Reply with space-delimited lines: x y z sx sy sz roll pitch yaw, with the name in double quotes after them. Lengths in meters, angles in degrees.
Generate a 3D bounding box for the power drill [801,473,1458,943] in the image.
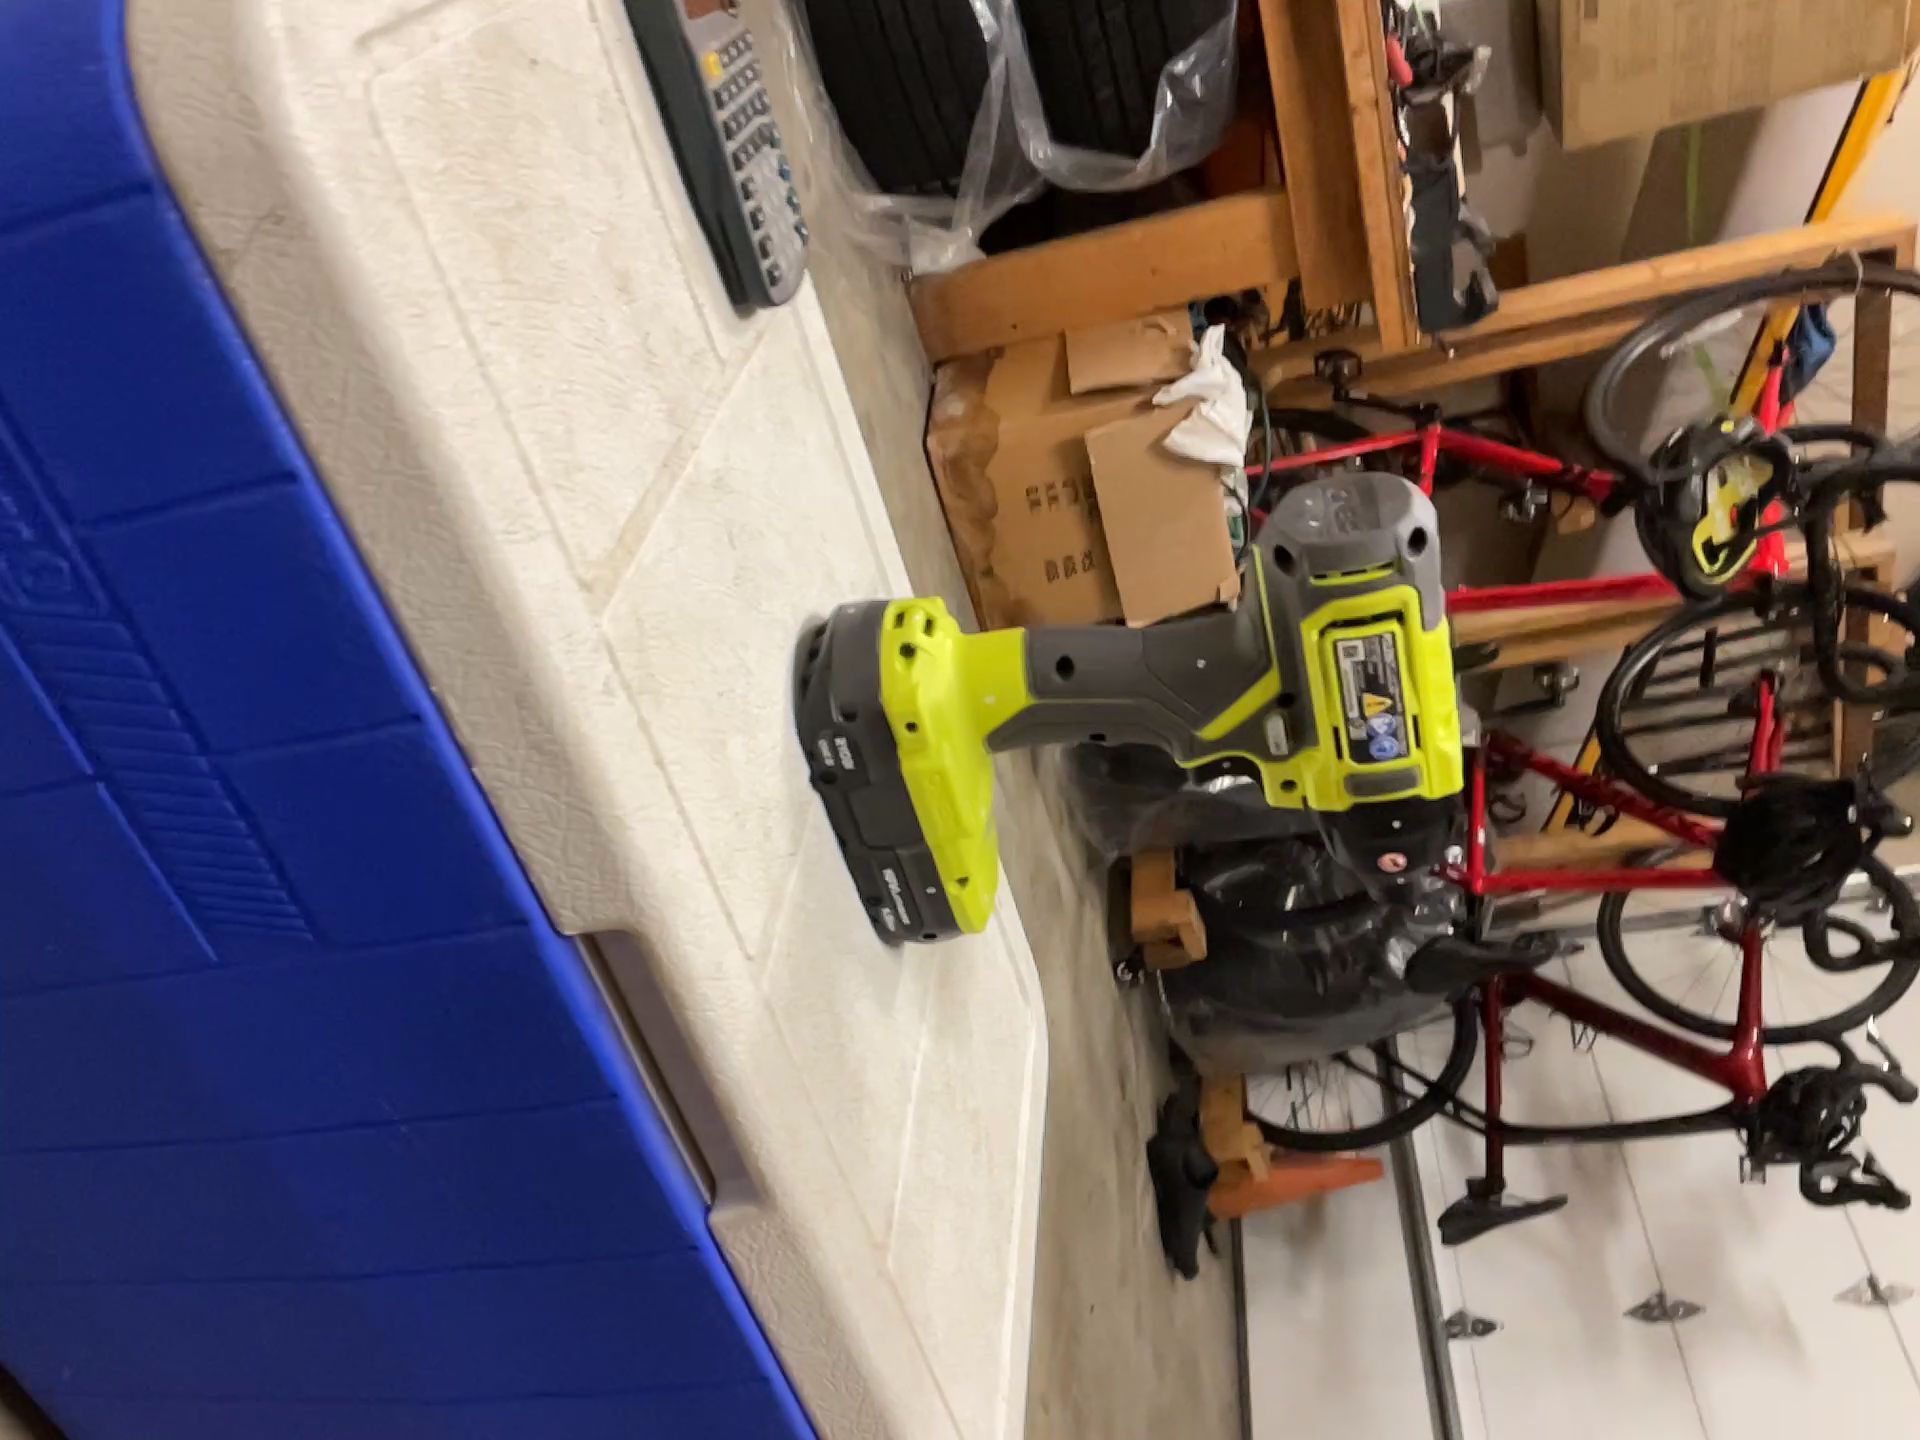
0.068 0.011 0.595 0.080 0.223 0.171 -80 157 -54 "power drill"
